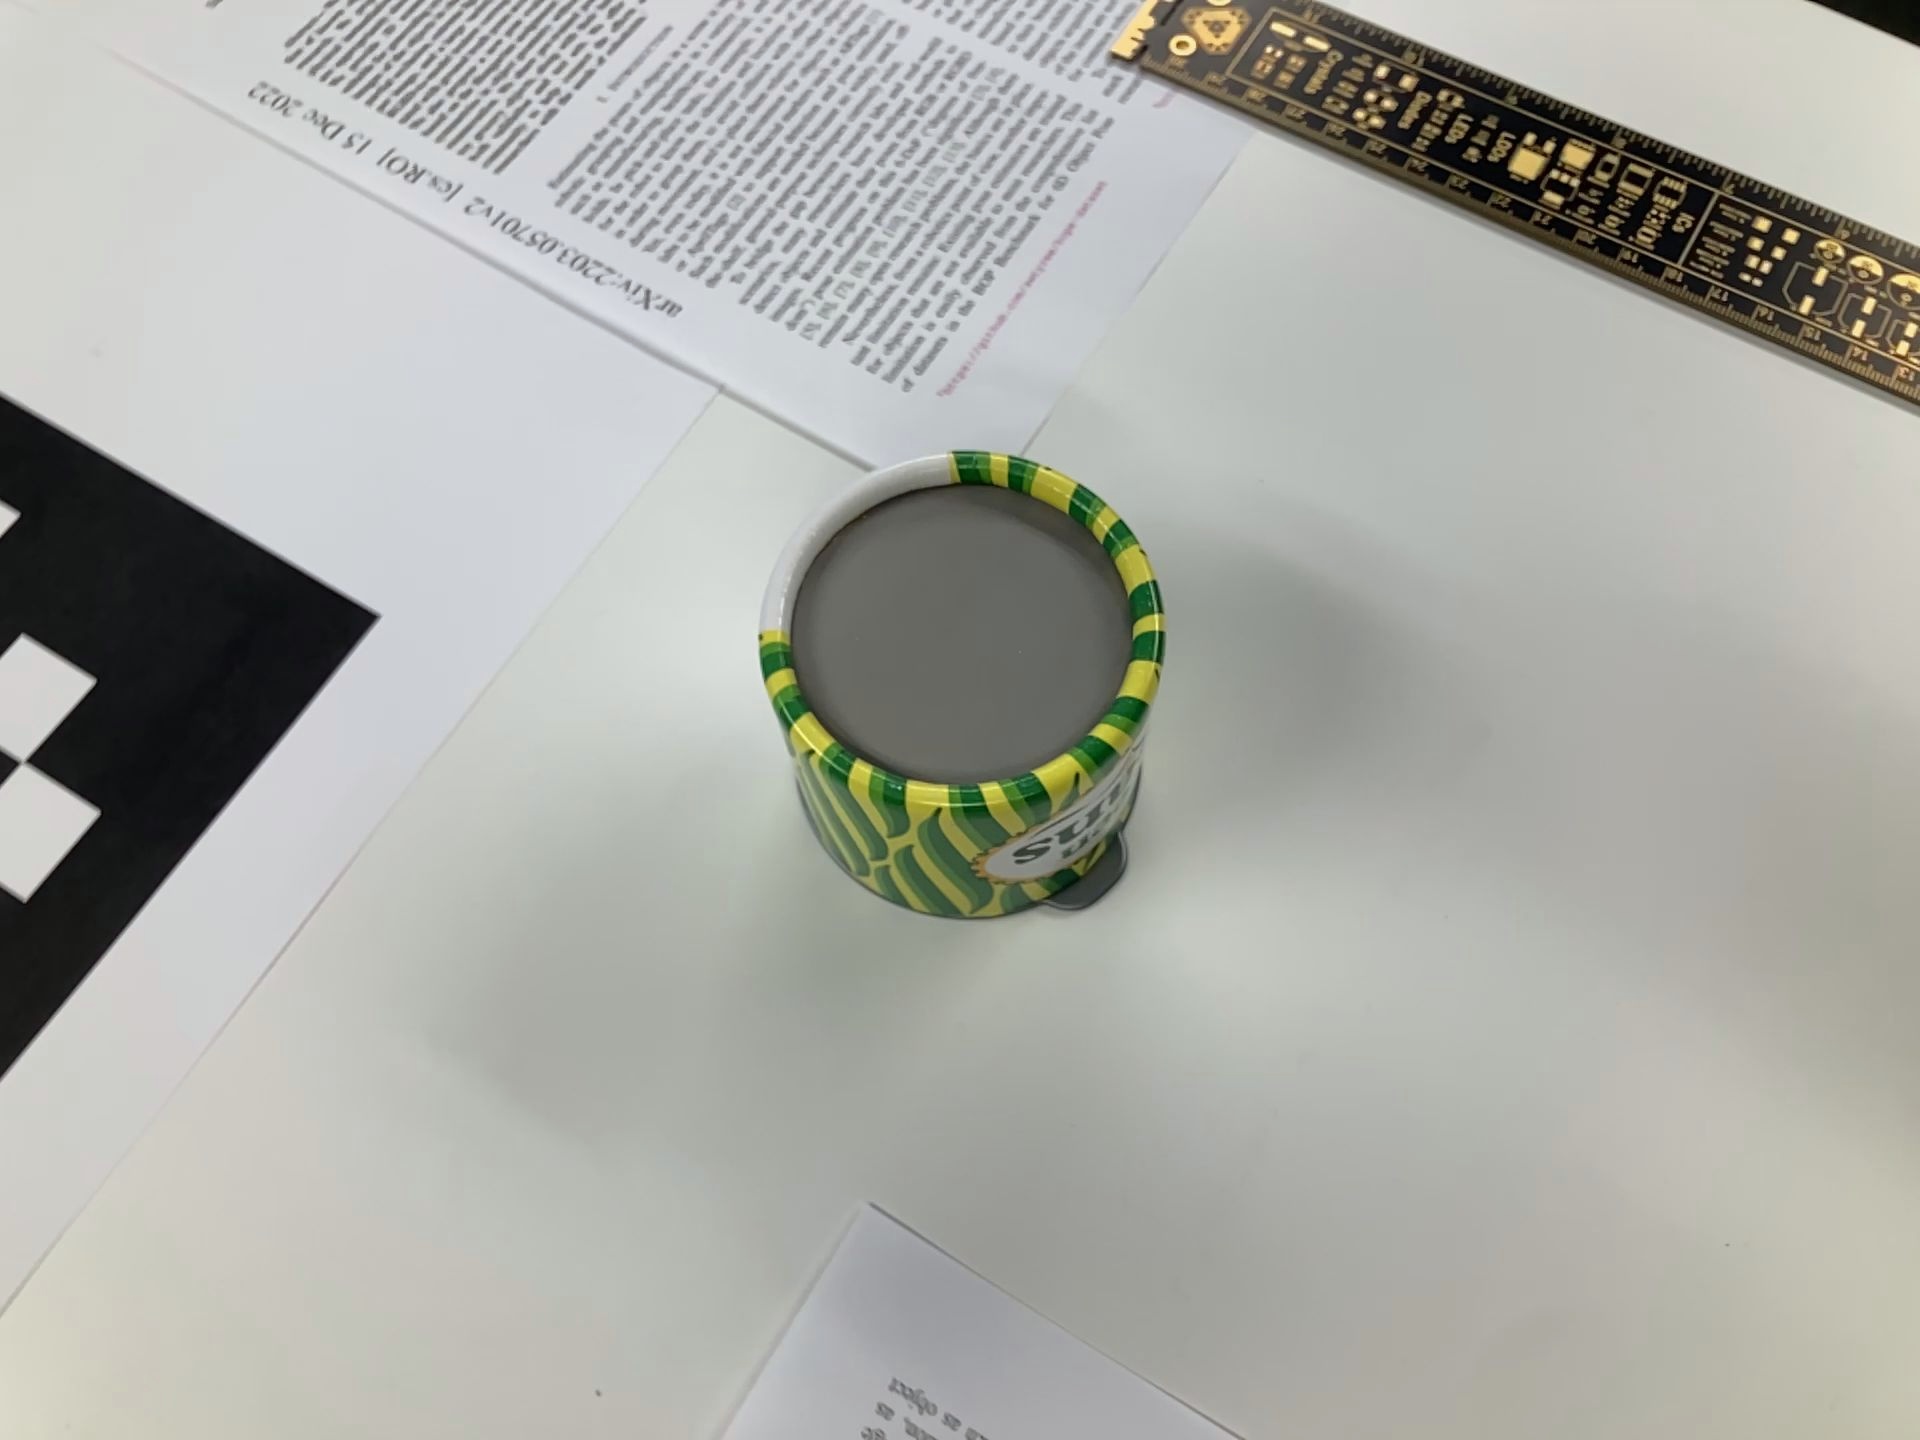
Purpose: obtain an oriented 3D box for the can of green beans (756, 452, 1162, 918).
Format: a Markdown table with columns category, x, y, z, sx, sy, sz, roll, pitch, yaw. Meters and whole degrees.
| category | x | y | z | sx | sy | sz | roll | pitch | yaw |
| --- | --- | --- | --- | --- | --- | --- | --- | --- | --- |
| can of green beans | 0.000 | -0.005 | 0.283 | 0.071 | 0.058 | 0.071 | 0 | 67 | 1 |
